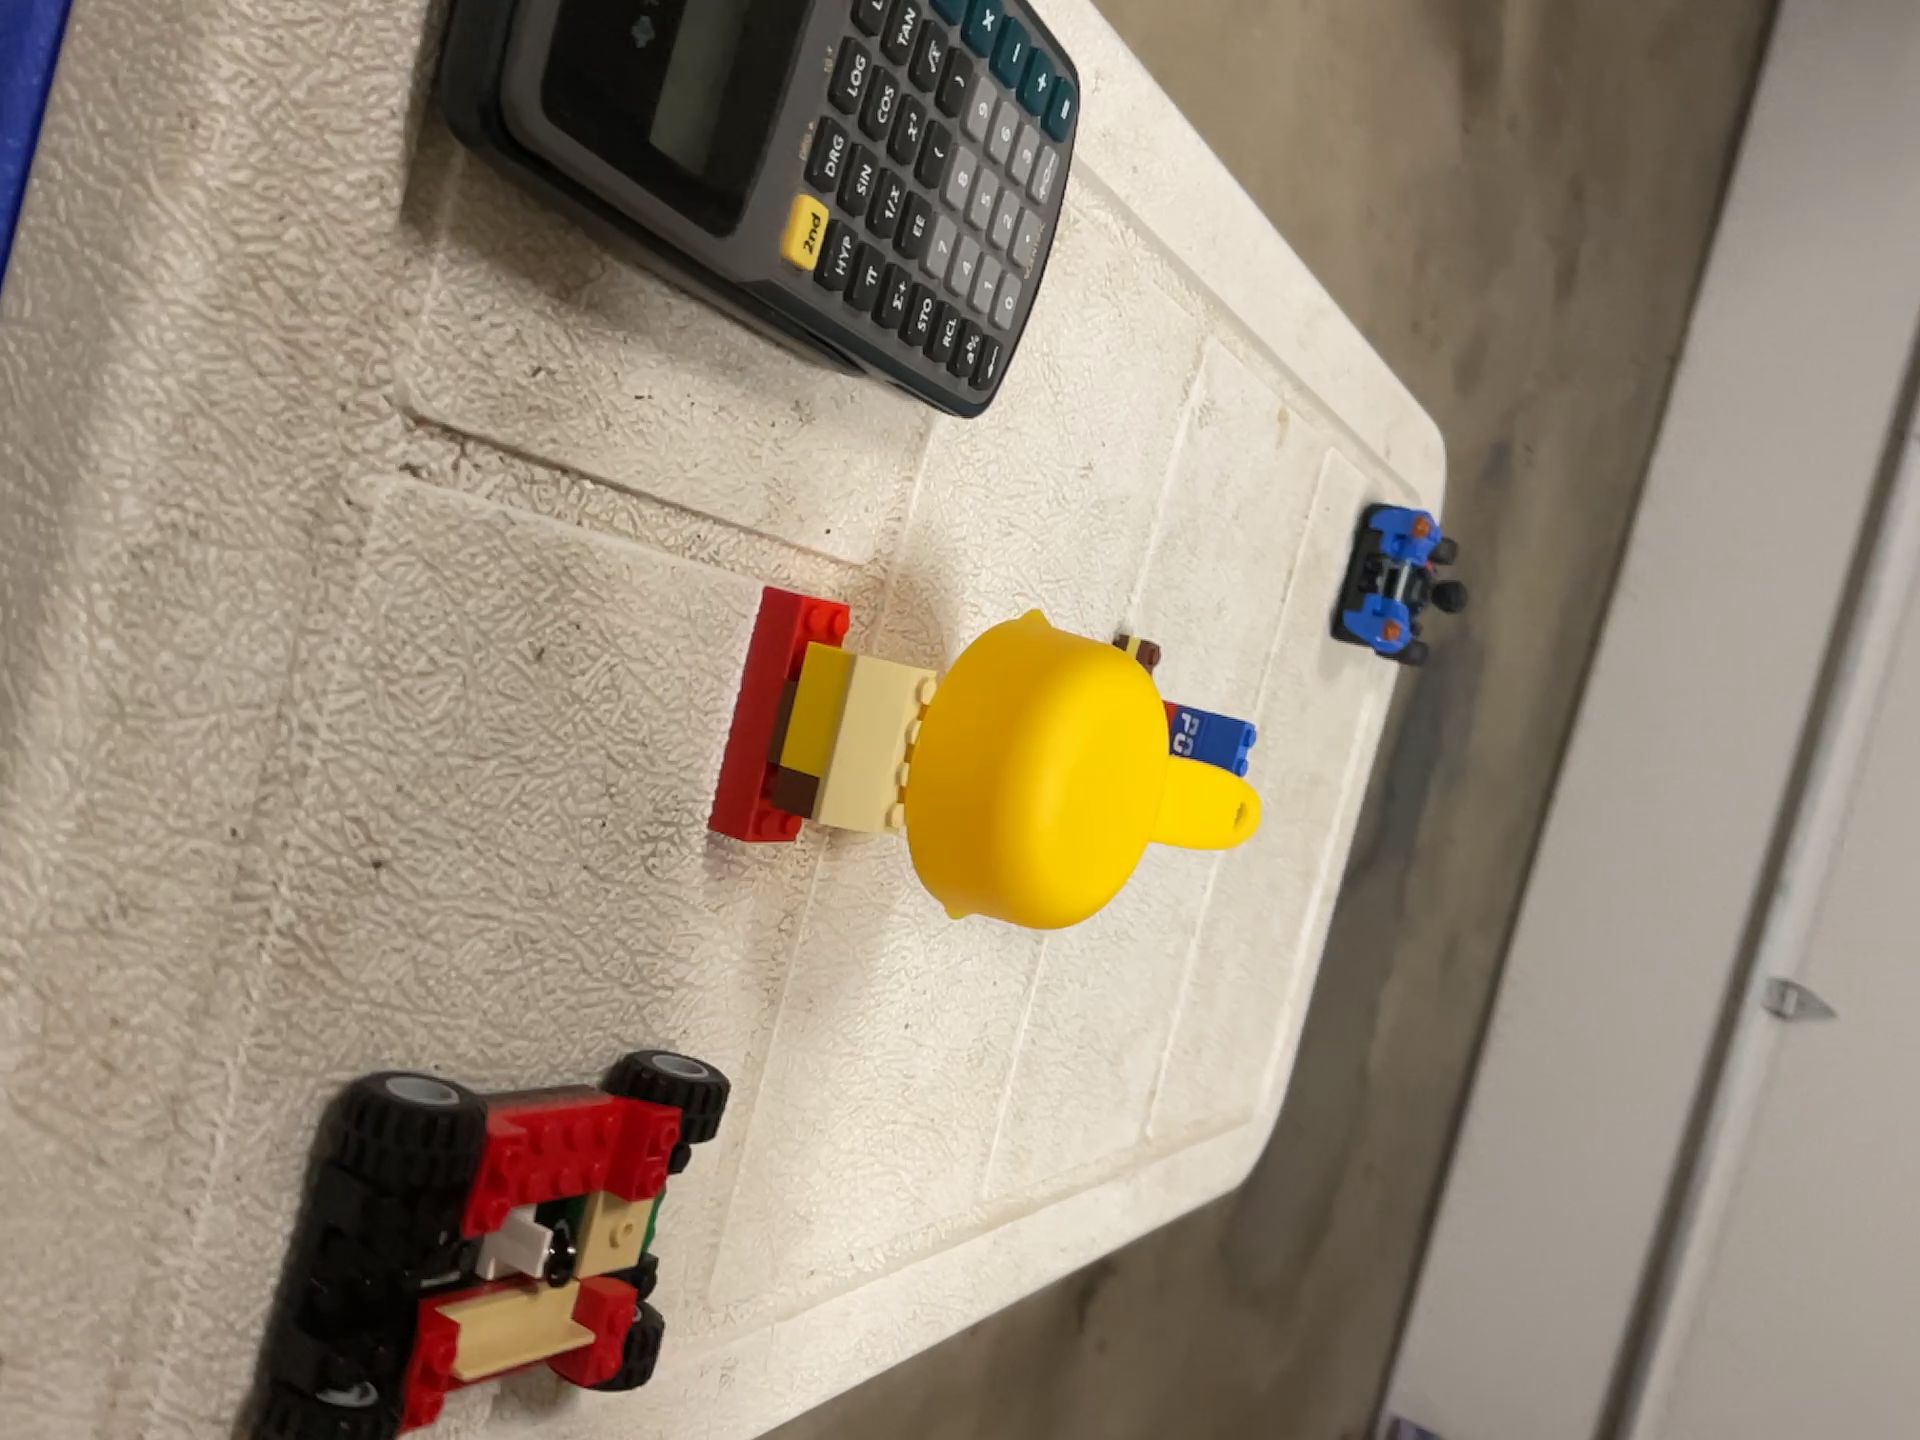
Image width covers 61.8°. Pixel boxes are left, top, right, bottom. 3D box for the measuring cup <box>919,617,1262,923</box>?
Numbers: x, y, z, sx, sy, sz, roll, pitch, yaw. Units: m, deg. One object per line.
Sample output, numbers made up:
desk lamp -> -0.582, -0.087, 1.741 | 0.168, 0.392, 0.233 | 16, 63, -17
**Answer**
measuring cup -> 0.046, 0.019, 0.357 | 0.156, 0.029, 0.062 | 14, 92, -56
